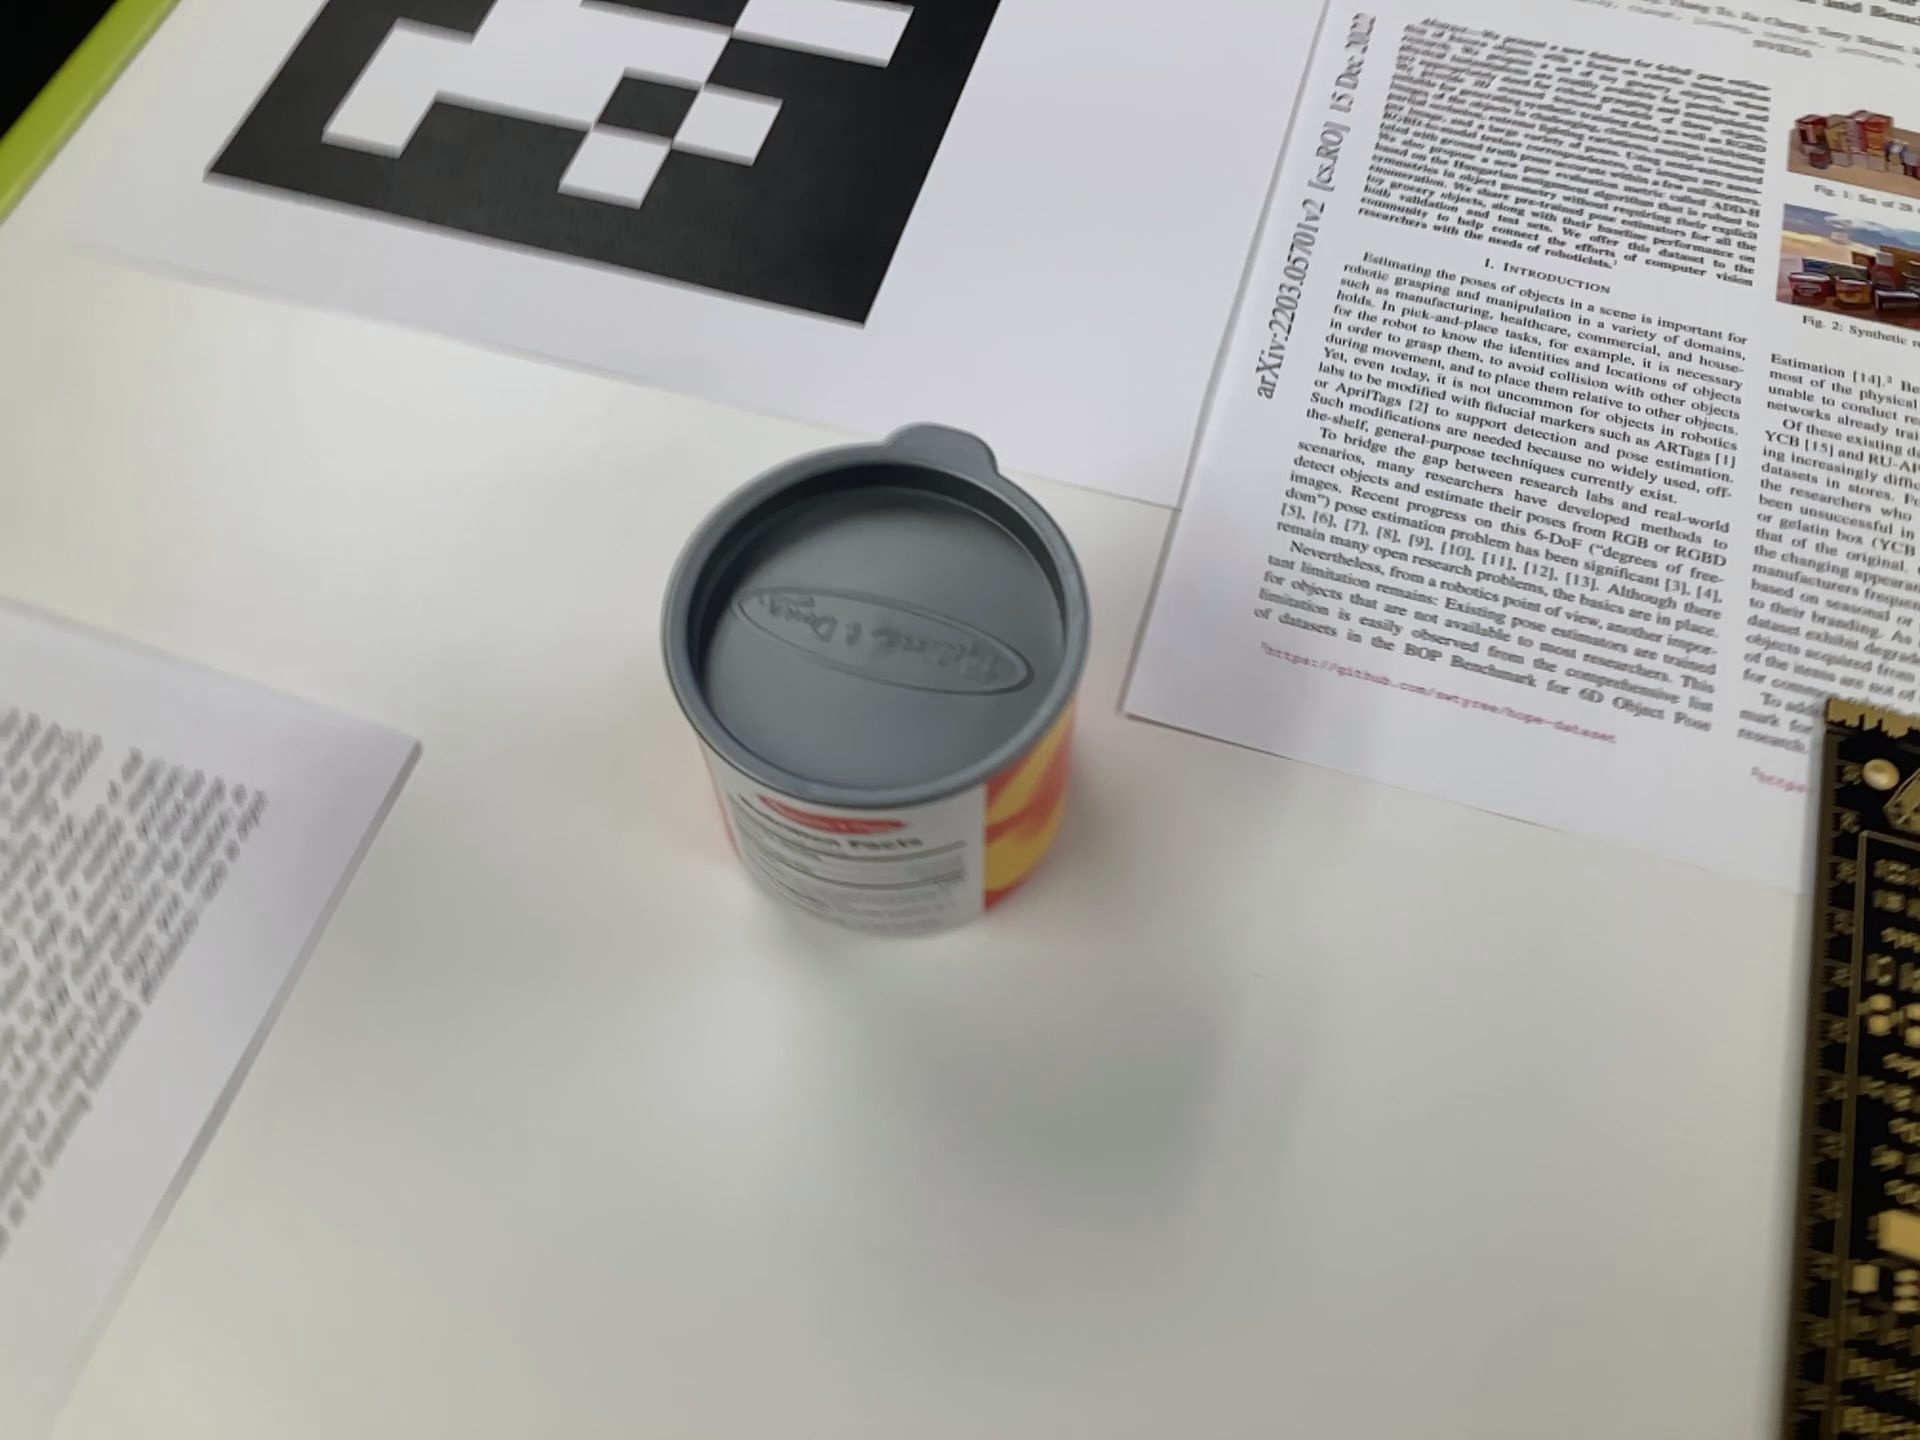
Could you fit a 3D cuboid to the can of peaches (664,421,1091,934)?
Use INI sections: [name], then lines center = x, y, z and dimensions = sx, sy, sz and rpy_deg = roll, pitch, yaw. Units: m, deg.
[can of peaches]
center = -0.012, -0.006, 0.272
dimensions = 0.071, 0.058, 0.071
rpy_deg = 0, 61, 0
